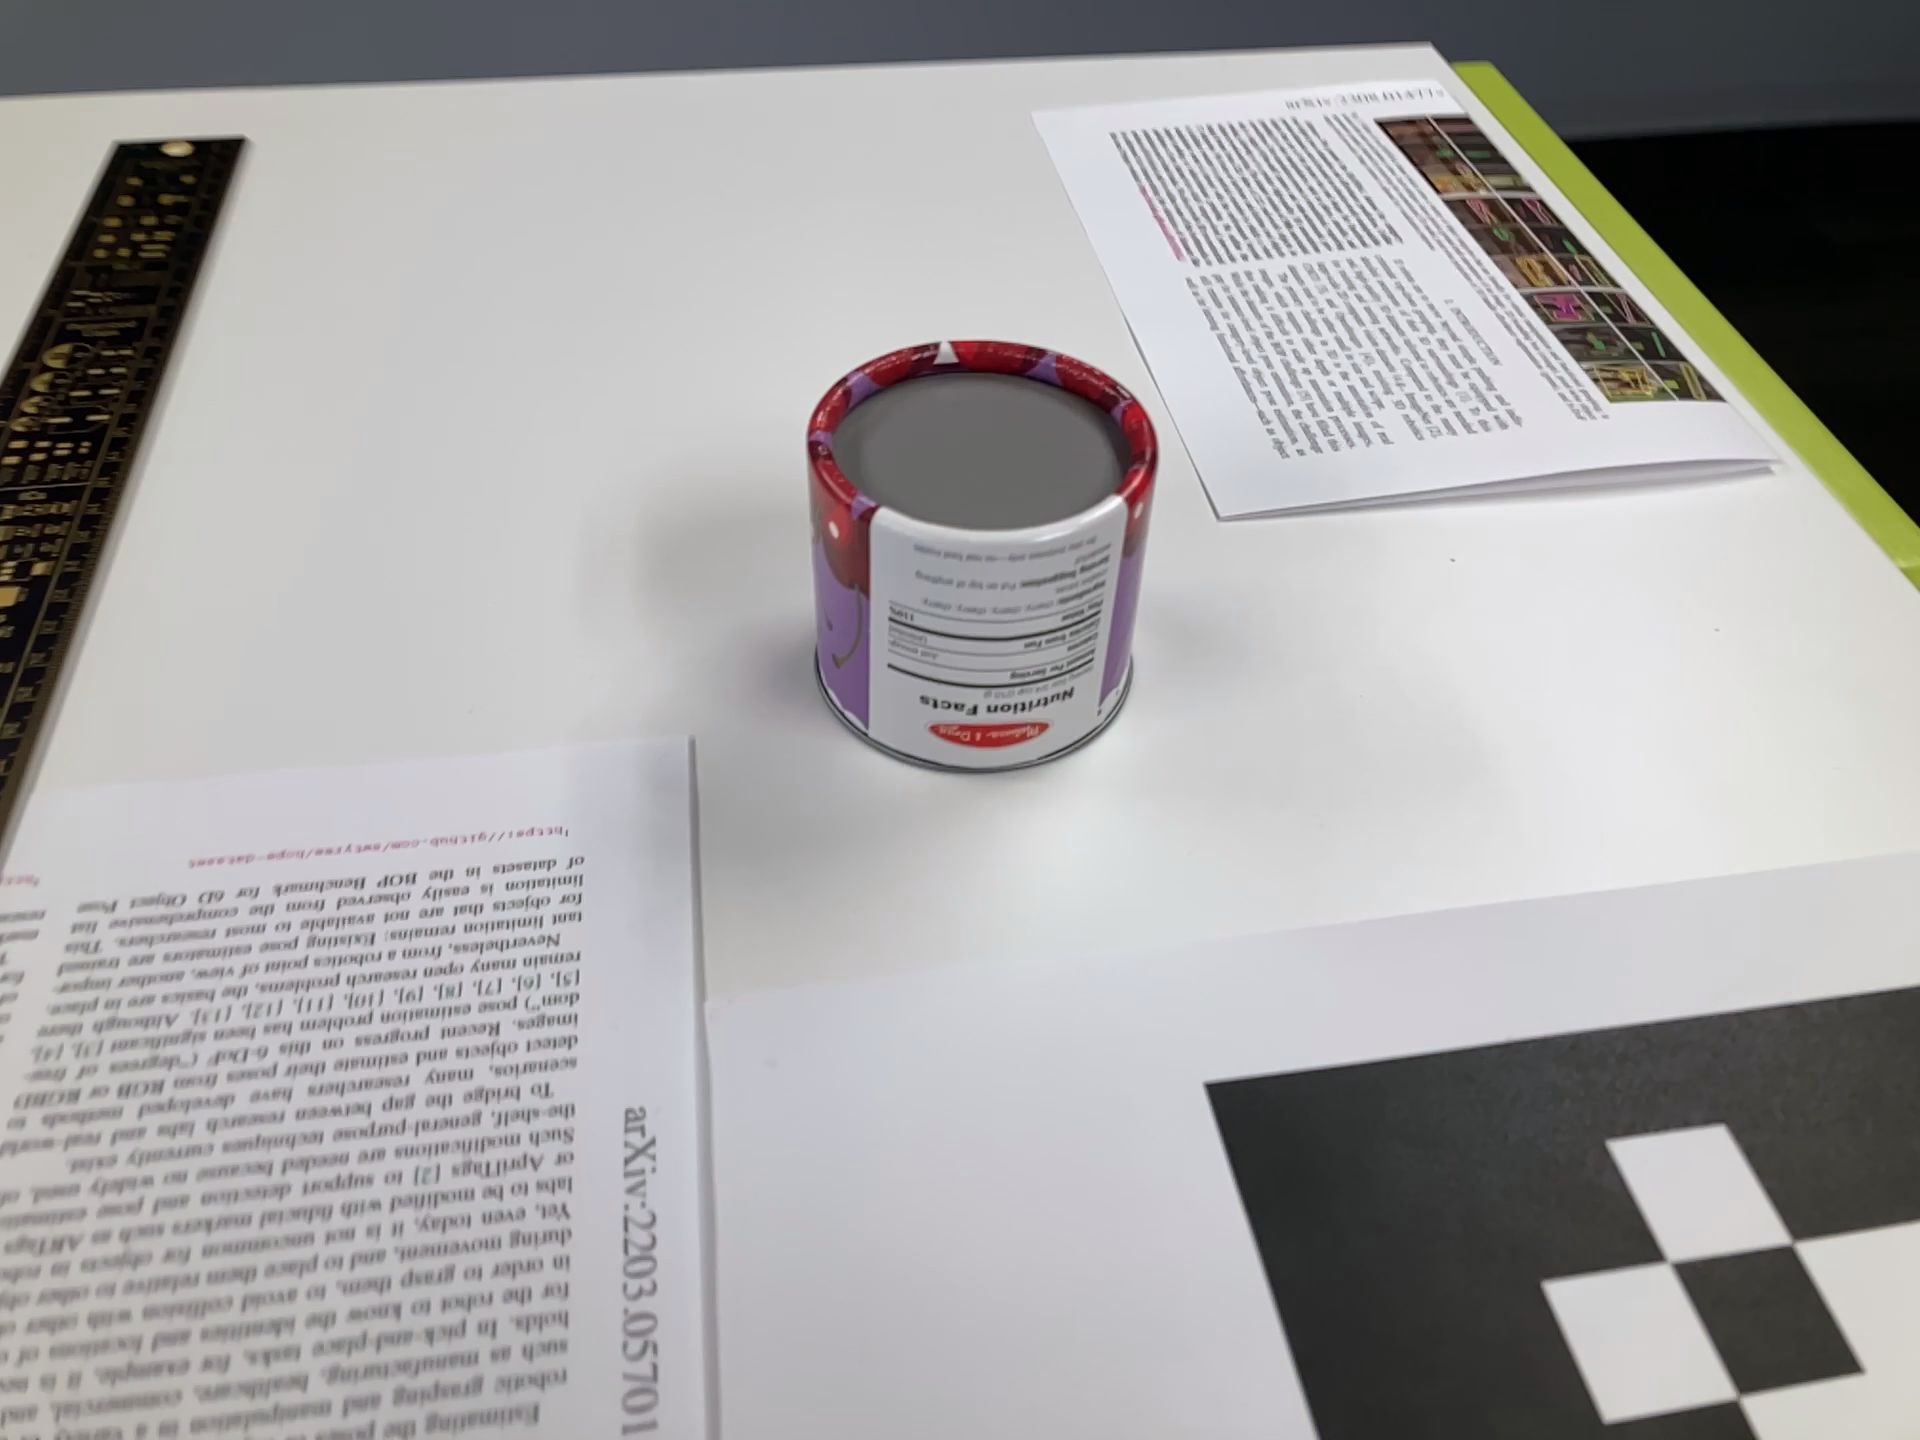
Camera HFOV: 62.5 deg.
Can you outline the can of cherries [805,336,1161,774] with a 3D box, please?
[{"bbox_3d":[0.003,-0.035,0.309,0.071,0.058,0.071,1,44,0],"label":"can of cherries"}]
